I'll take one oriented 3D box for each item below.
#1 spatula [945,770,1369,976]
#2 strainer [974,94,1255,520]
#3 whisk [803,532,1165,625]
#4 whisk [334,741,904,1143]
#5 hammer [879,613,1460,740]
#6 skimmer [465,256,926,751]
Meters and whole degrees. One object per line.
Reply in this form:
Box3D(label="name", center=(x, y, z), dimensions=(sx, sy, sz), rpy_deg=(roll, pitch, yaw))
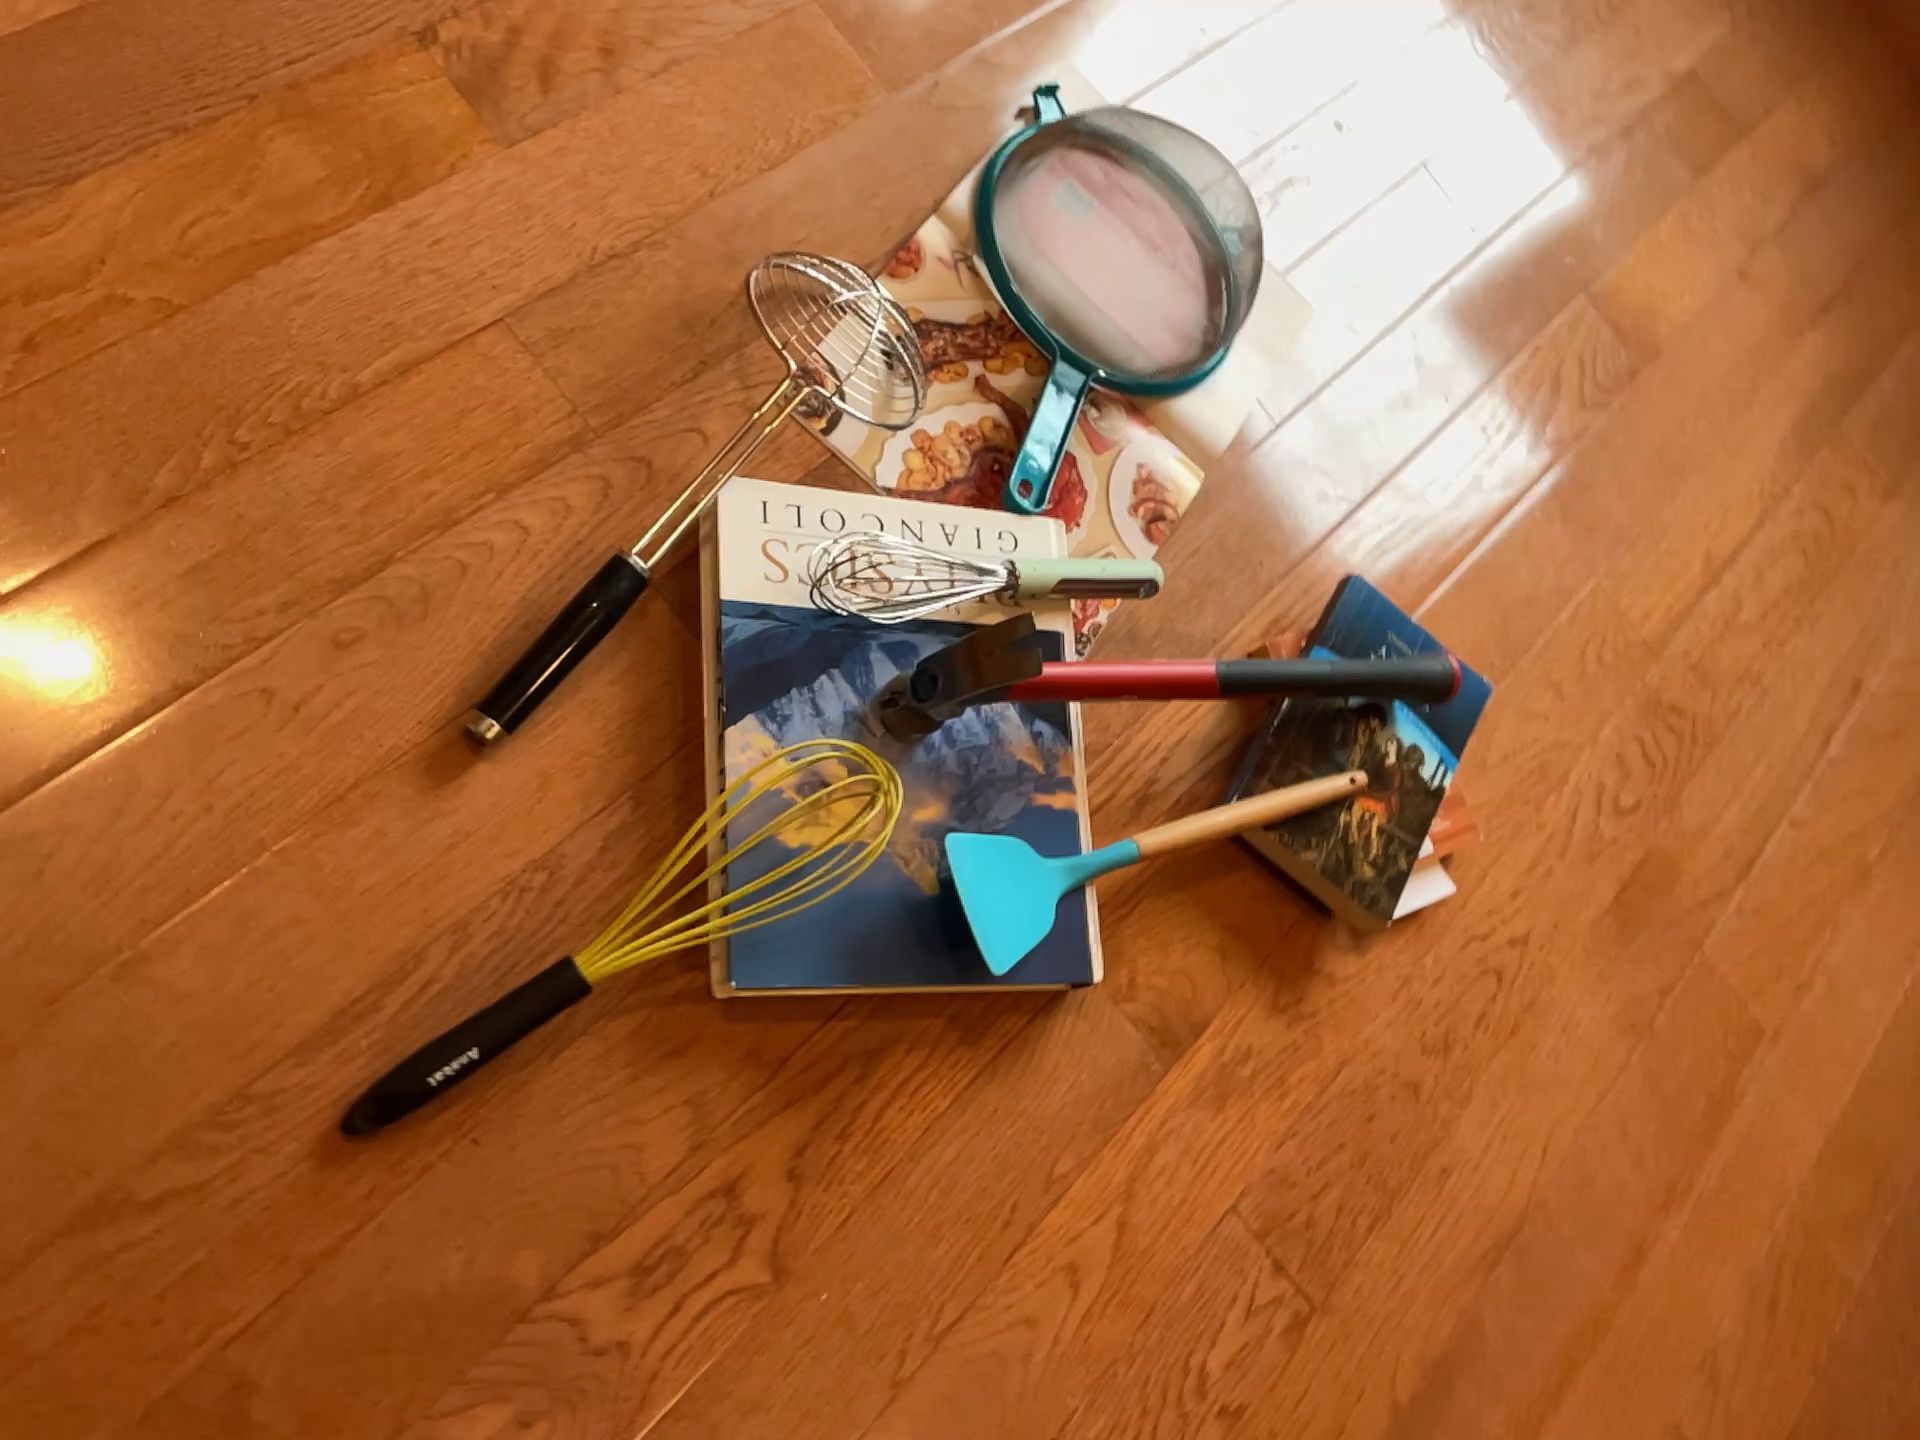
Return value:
Box3D(label="spatula", center=(0.126, 0.068, 0.919), dimensions=(0.318, 0.044, 0.082), rpy_deg=(-14, 79, -30))
Box3D(label="strainer", center=(0.103, -0.273, 1.019), dimensions=(0.211, 0.095, 0.341), rpy_deg=(31, 56, -16))
Box3D(label="whisk", center=(0.021, -0.080, 0.916), dimensions=(0.246, 0.057, 0.059), rpy_deg=(-3, 45, -33))
Box3D(label="whisk", center=(-0.162, 0.108, 0.774), dimensions=(0.312, 0.067, 0.080), rpy_deg=(-34, 107, -17))
Box3D(label="hammer", center=(0.155, -0.026, 0.918), dimensions=(0.386, 0.143, 0.038), rpy_deg=(-2, 78, -31))
Box3D(label="skimmer", center=(-0.147, -0.123, 0.892), dimensions=(0.127, 0.090, 0.364), rpy_deg=(42, 71, -12))
